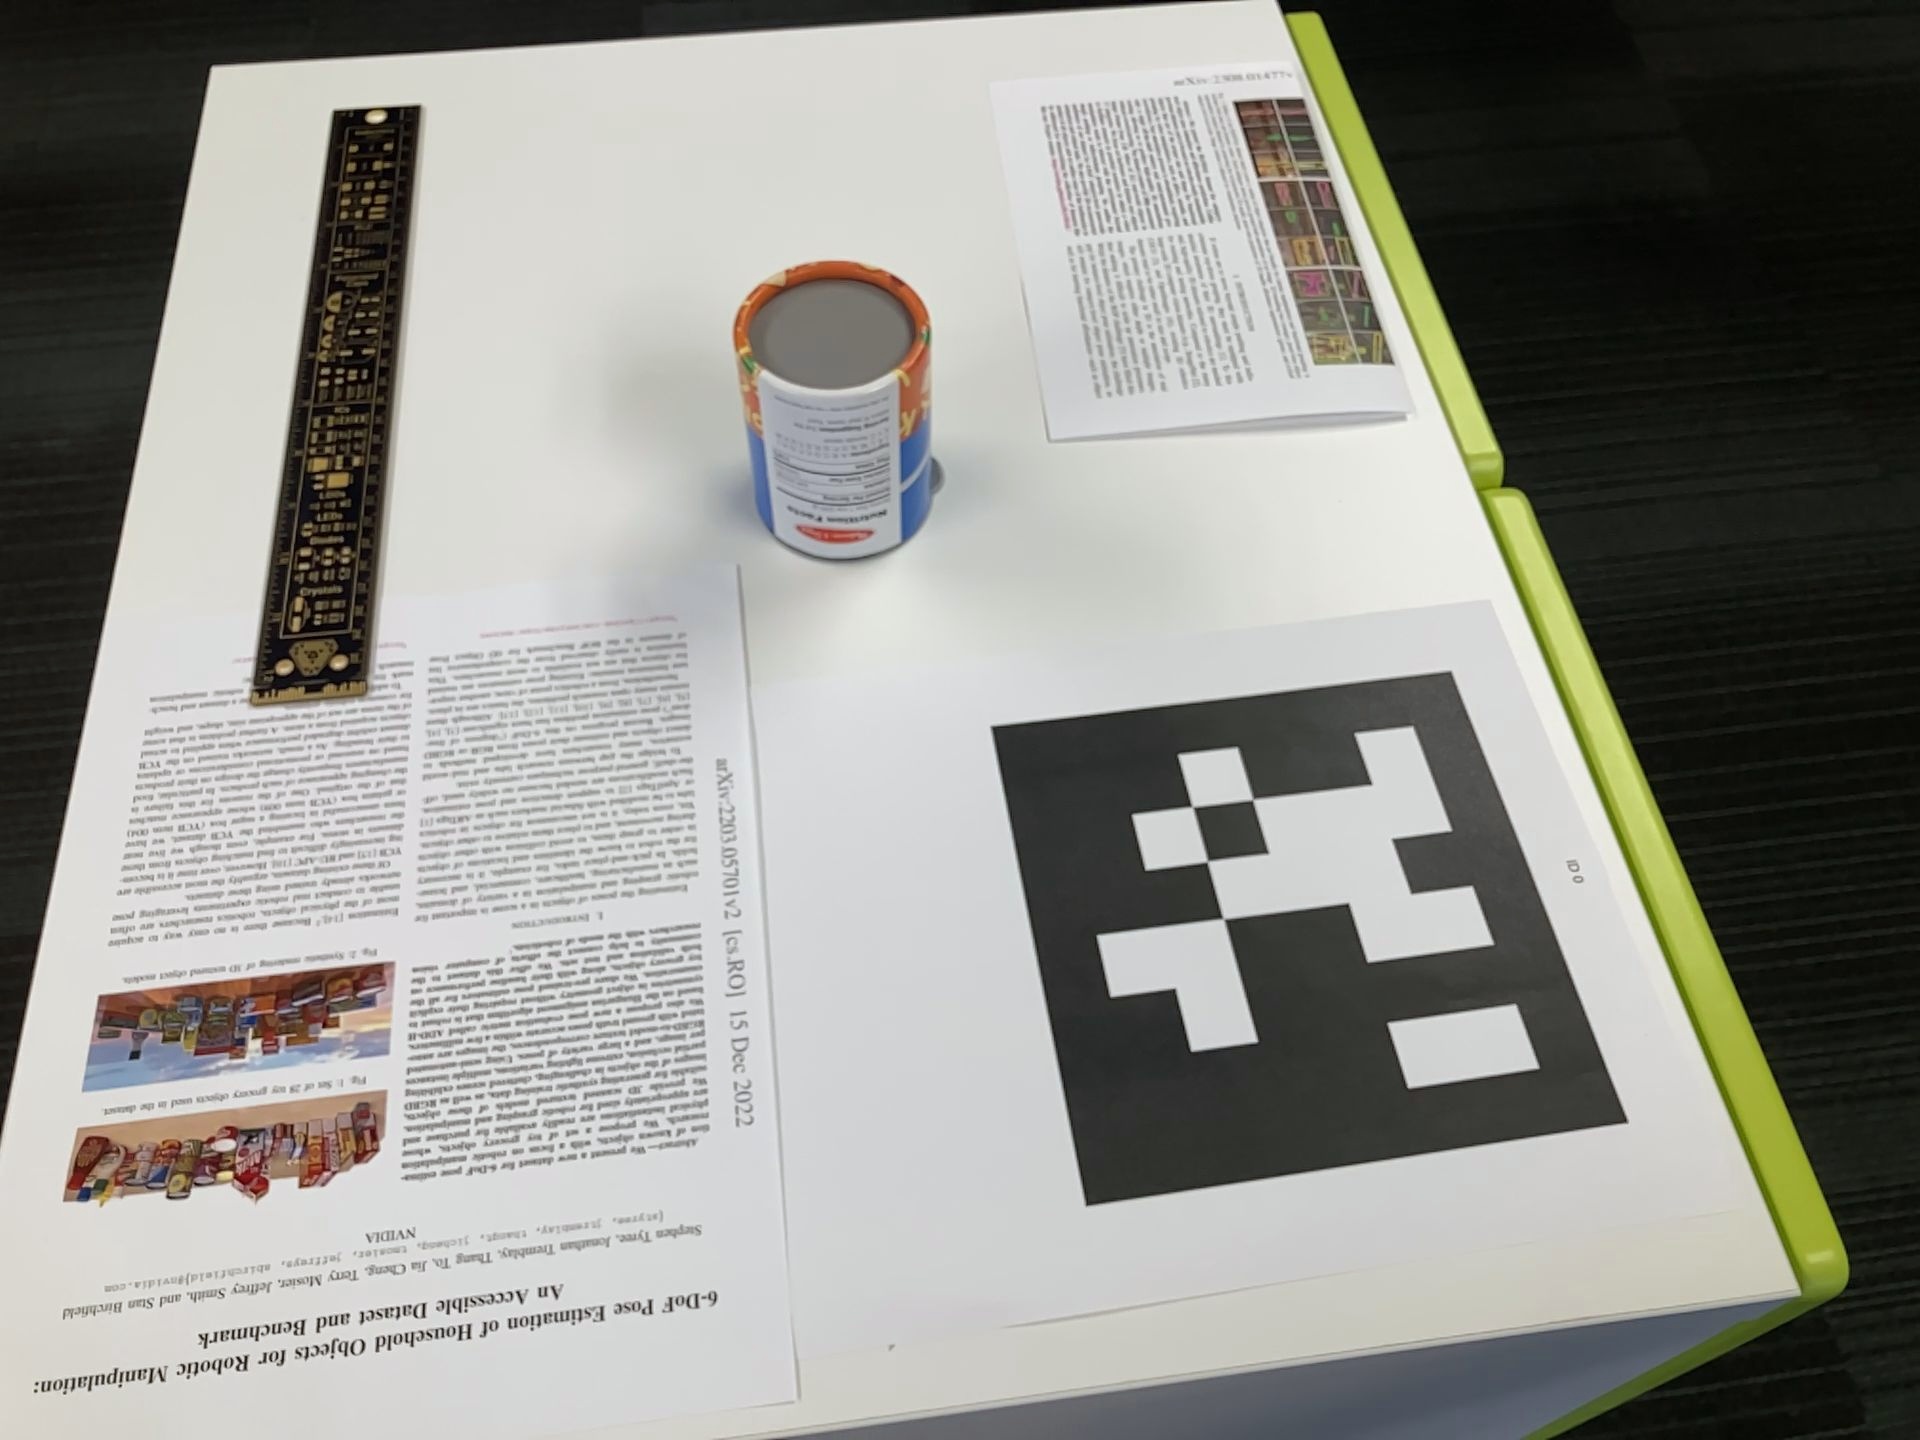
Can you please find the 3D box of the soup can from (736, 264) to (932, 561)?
[{"bbox_3d":[-0.043,-0.111,0.565,0.071,0.084,0.071,1,56,-1],"label":"soup can"}]
